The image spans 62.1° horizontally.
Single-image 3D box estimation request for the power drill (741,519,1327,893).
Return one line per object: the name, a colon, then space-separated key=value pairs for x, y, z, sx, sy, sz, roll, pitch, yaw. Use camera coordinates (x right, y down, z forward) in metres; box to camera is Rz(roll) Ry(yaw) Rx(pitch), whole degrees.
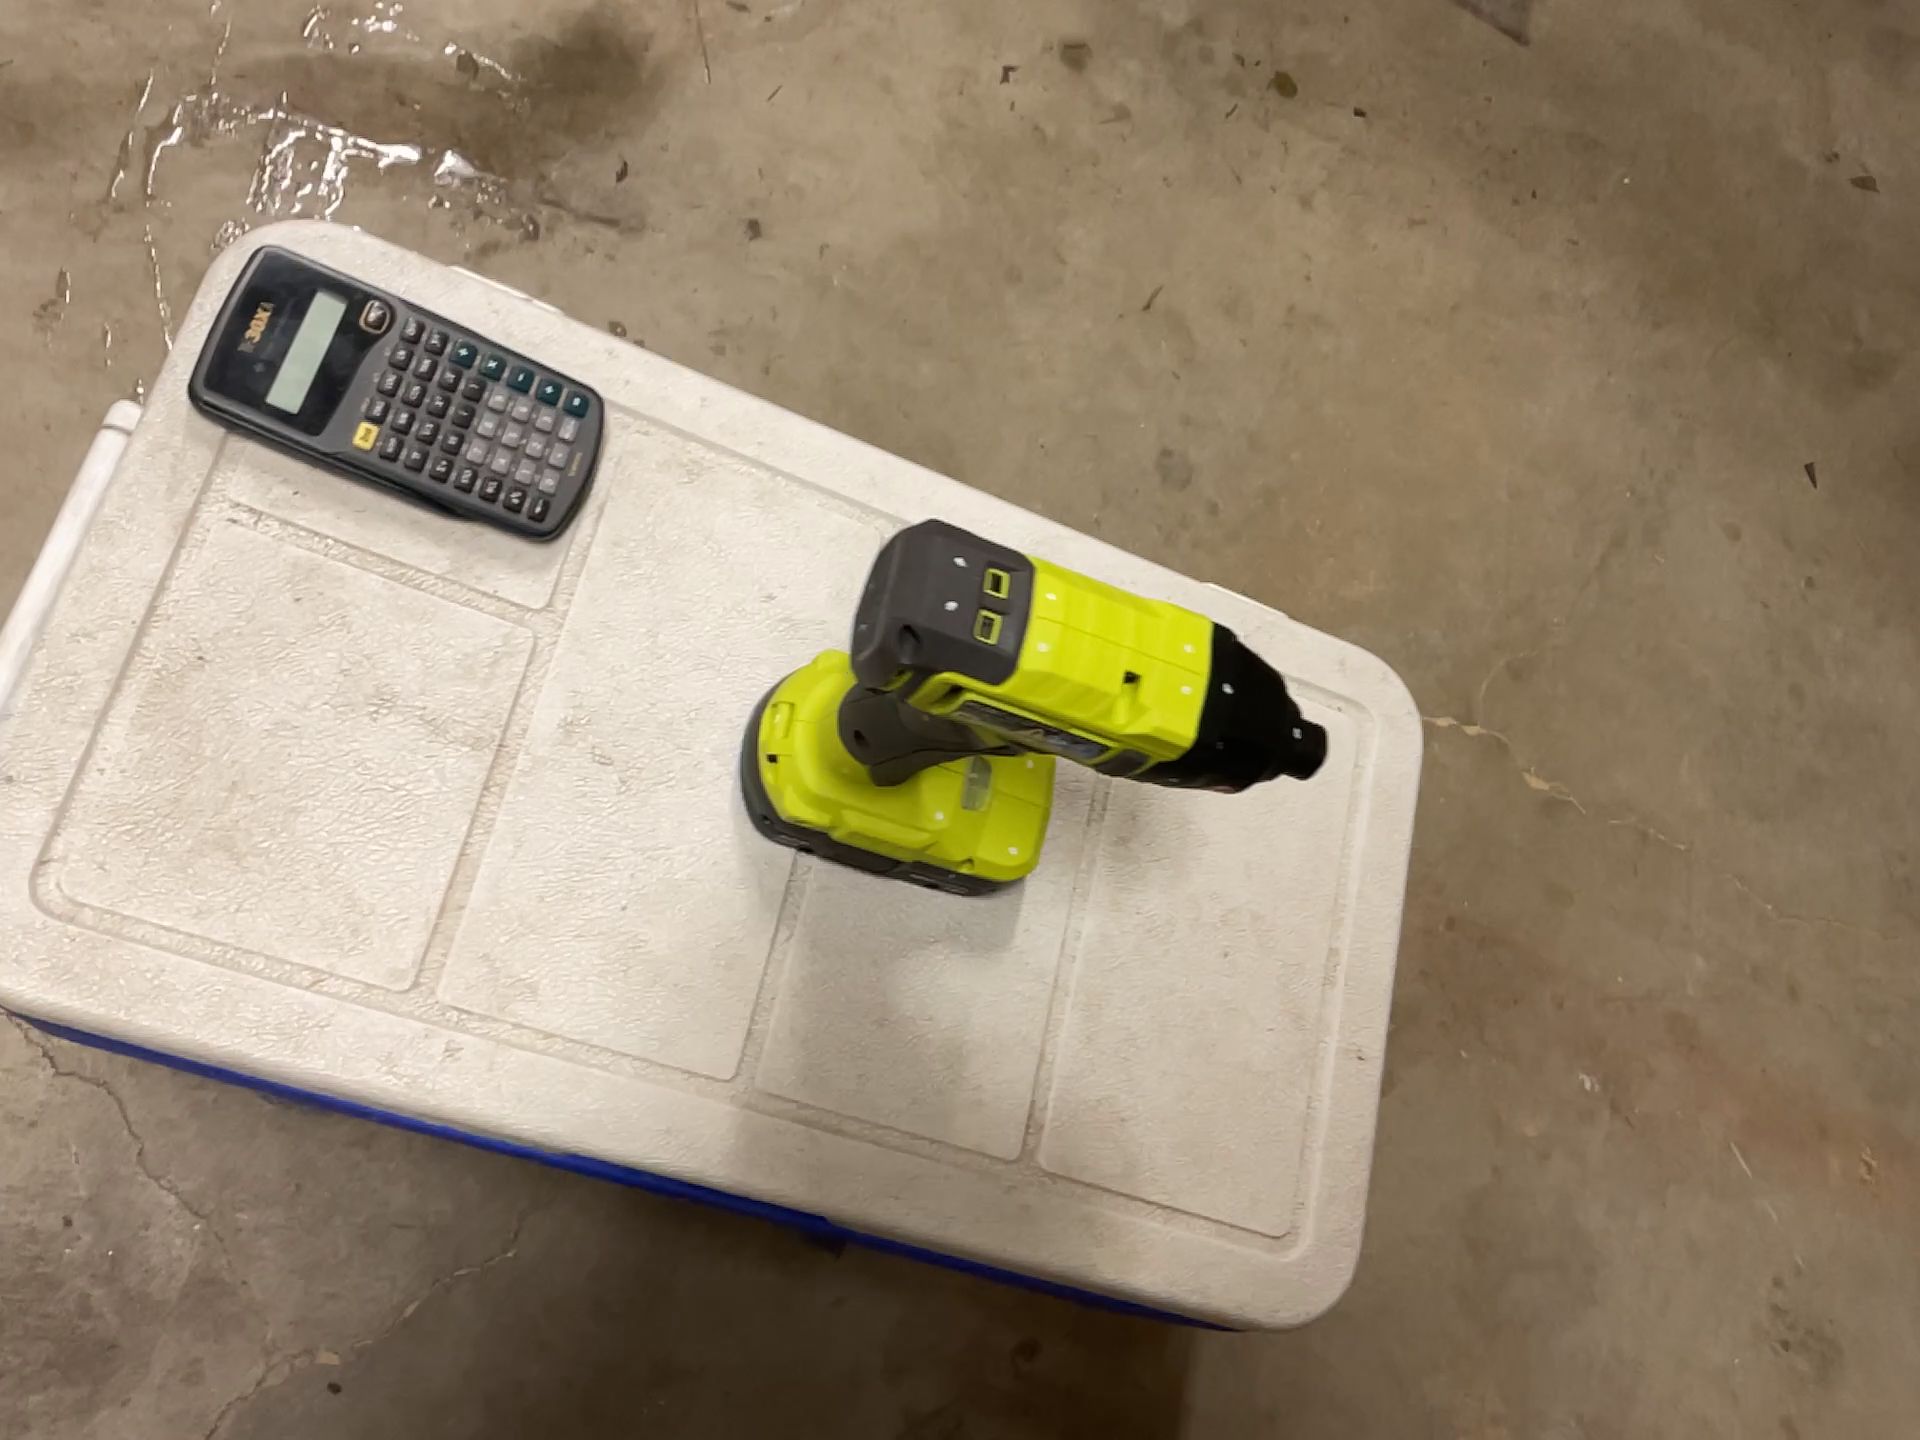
power drill: x=0.016 y=0.006 z=0.613 sx=0.171 sy=0.223 sz=0.080 roll=18 pitch=70 yaw=-19
